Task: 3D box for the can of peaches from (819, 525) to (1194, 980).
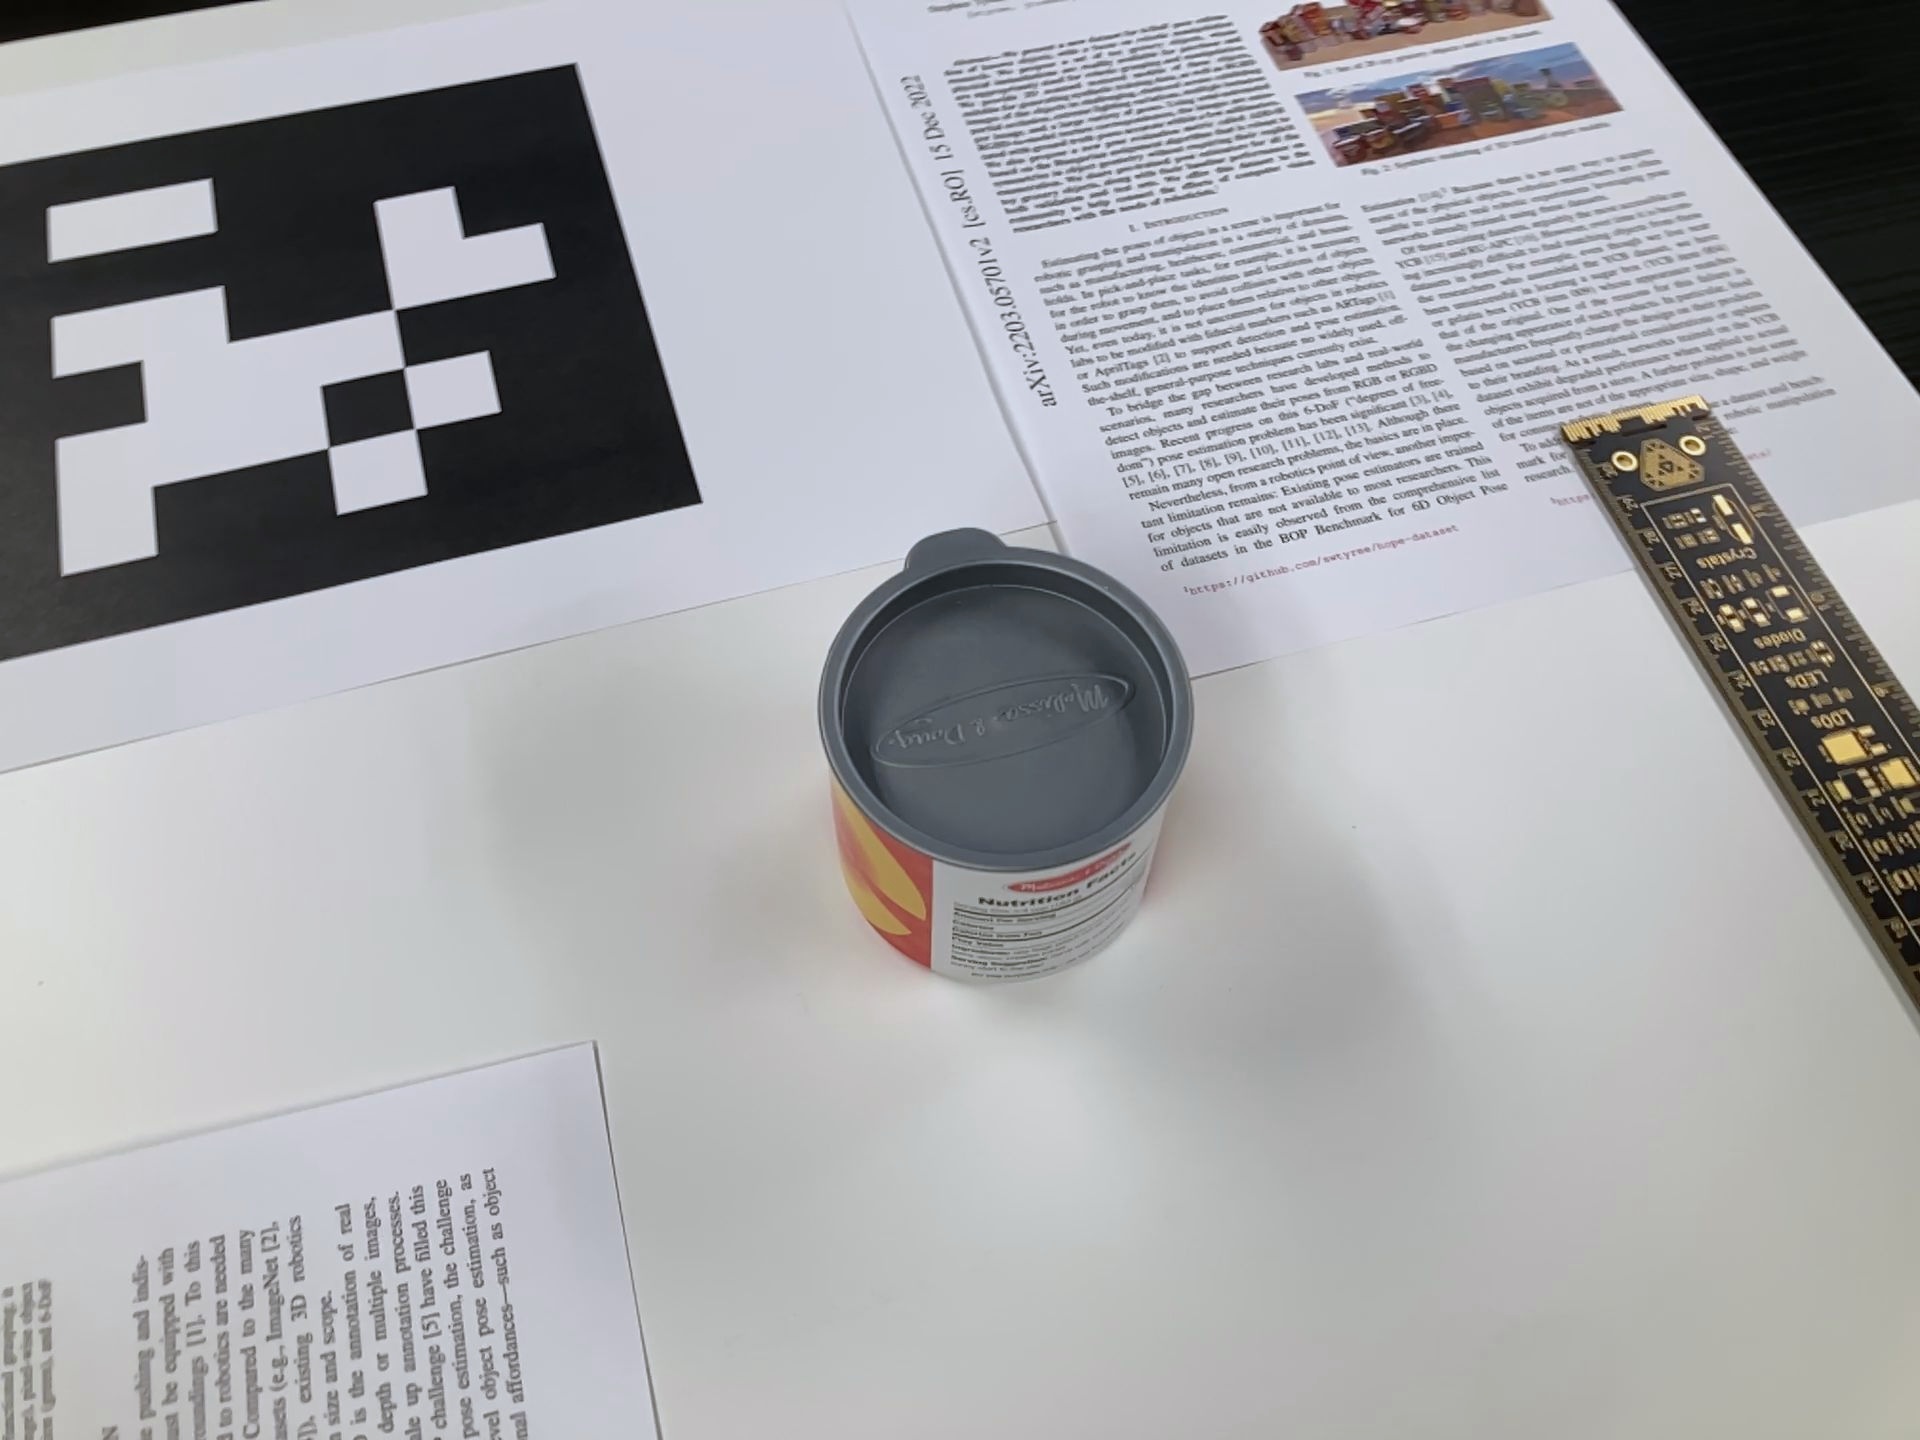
[{"bbox_3d":[0.007,0.007,0.305,0.071,0.058,0.071,0,59,-1],"label":"can of peaches"}]
